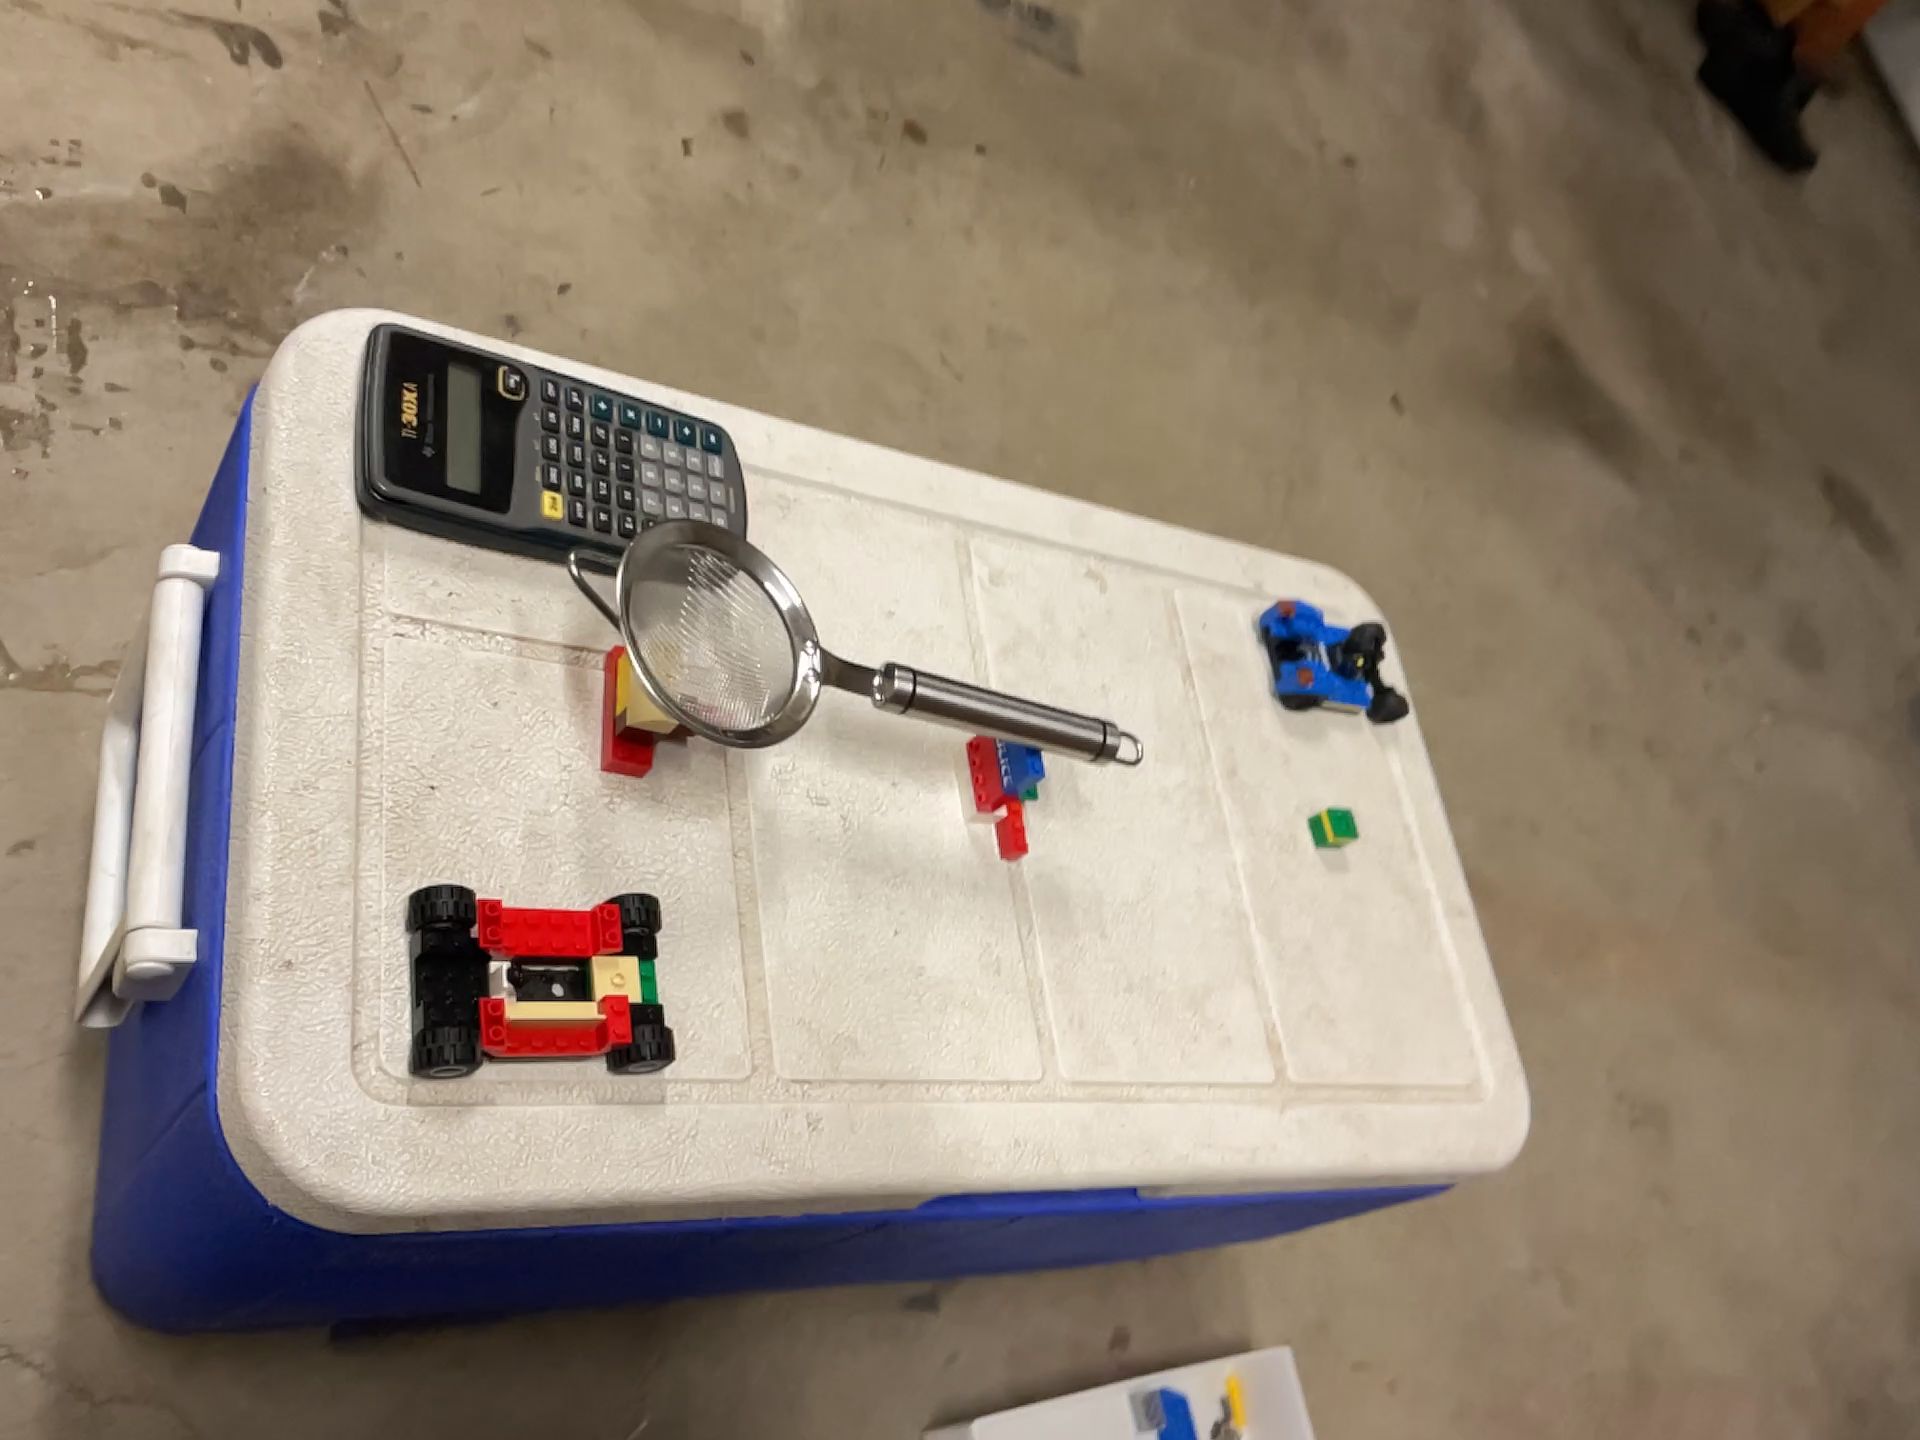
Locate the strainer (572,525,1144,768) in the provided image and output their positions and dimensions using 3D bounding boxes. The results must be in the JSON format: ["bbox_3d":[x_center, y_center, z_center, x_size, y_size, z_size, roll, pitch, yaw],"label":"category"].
[{"bbox_3d":[-0.031,-0.011,0.597,0.258,0.050,0.087,14,58,-32],"label":"strainer"}]
